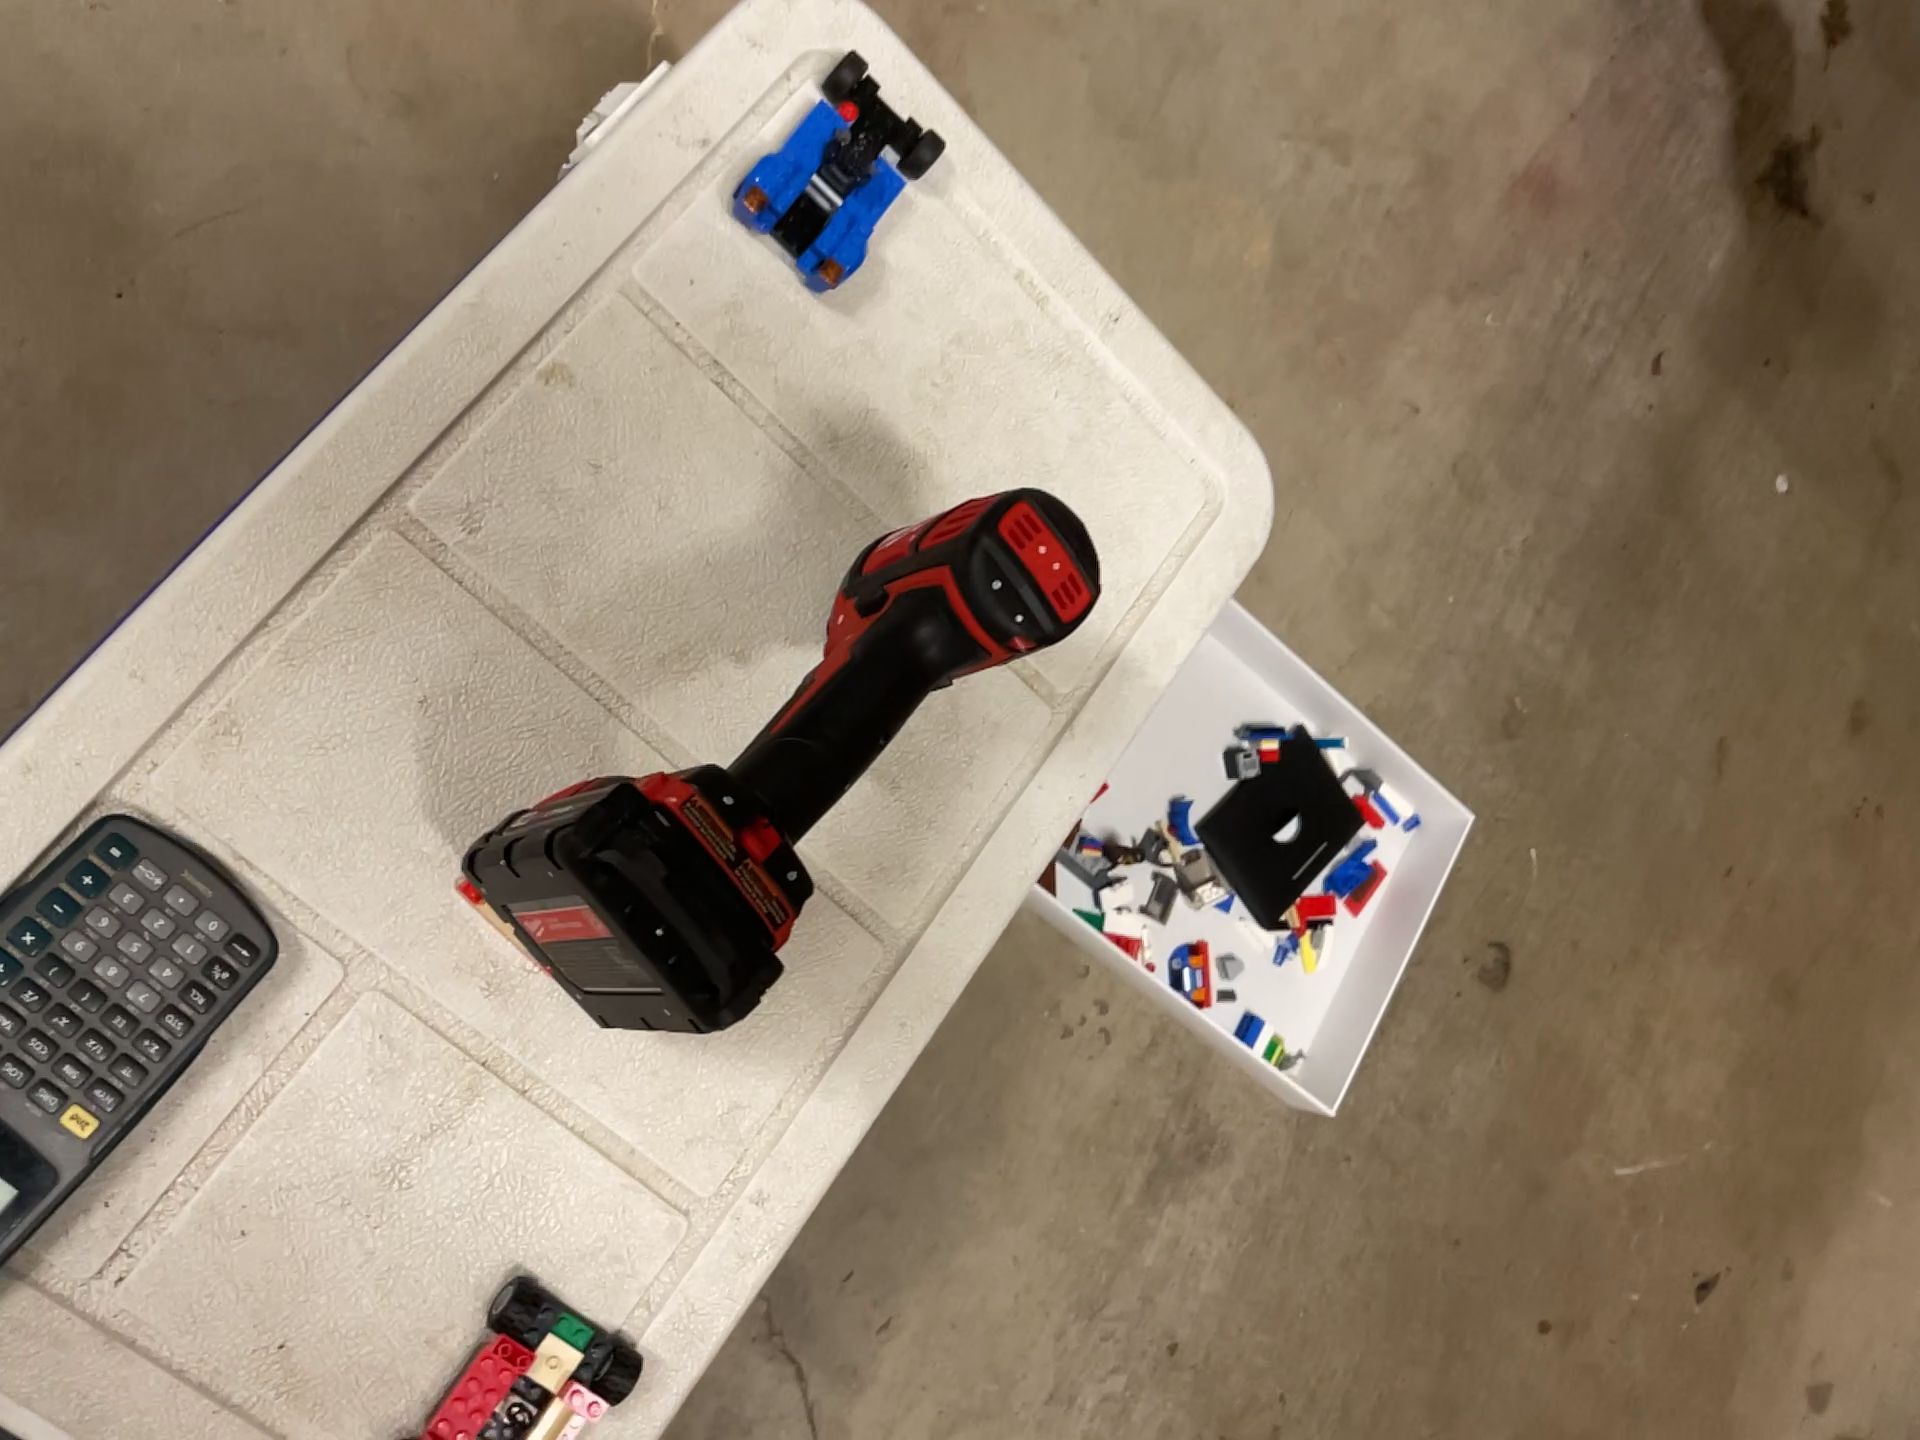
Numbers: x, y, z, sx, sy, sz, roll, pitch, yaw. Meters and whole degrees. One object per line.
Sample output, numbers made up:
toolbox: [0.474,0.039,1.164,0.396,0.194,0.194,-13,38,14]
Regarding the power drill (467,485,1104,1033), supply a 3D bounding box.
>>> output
power drill: [-0.057,0.004,0.564,0.220,0.143,0.078,-46,108,-30]
